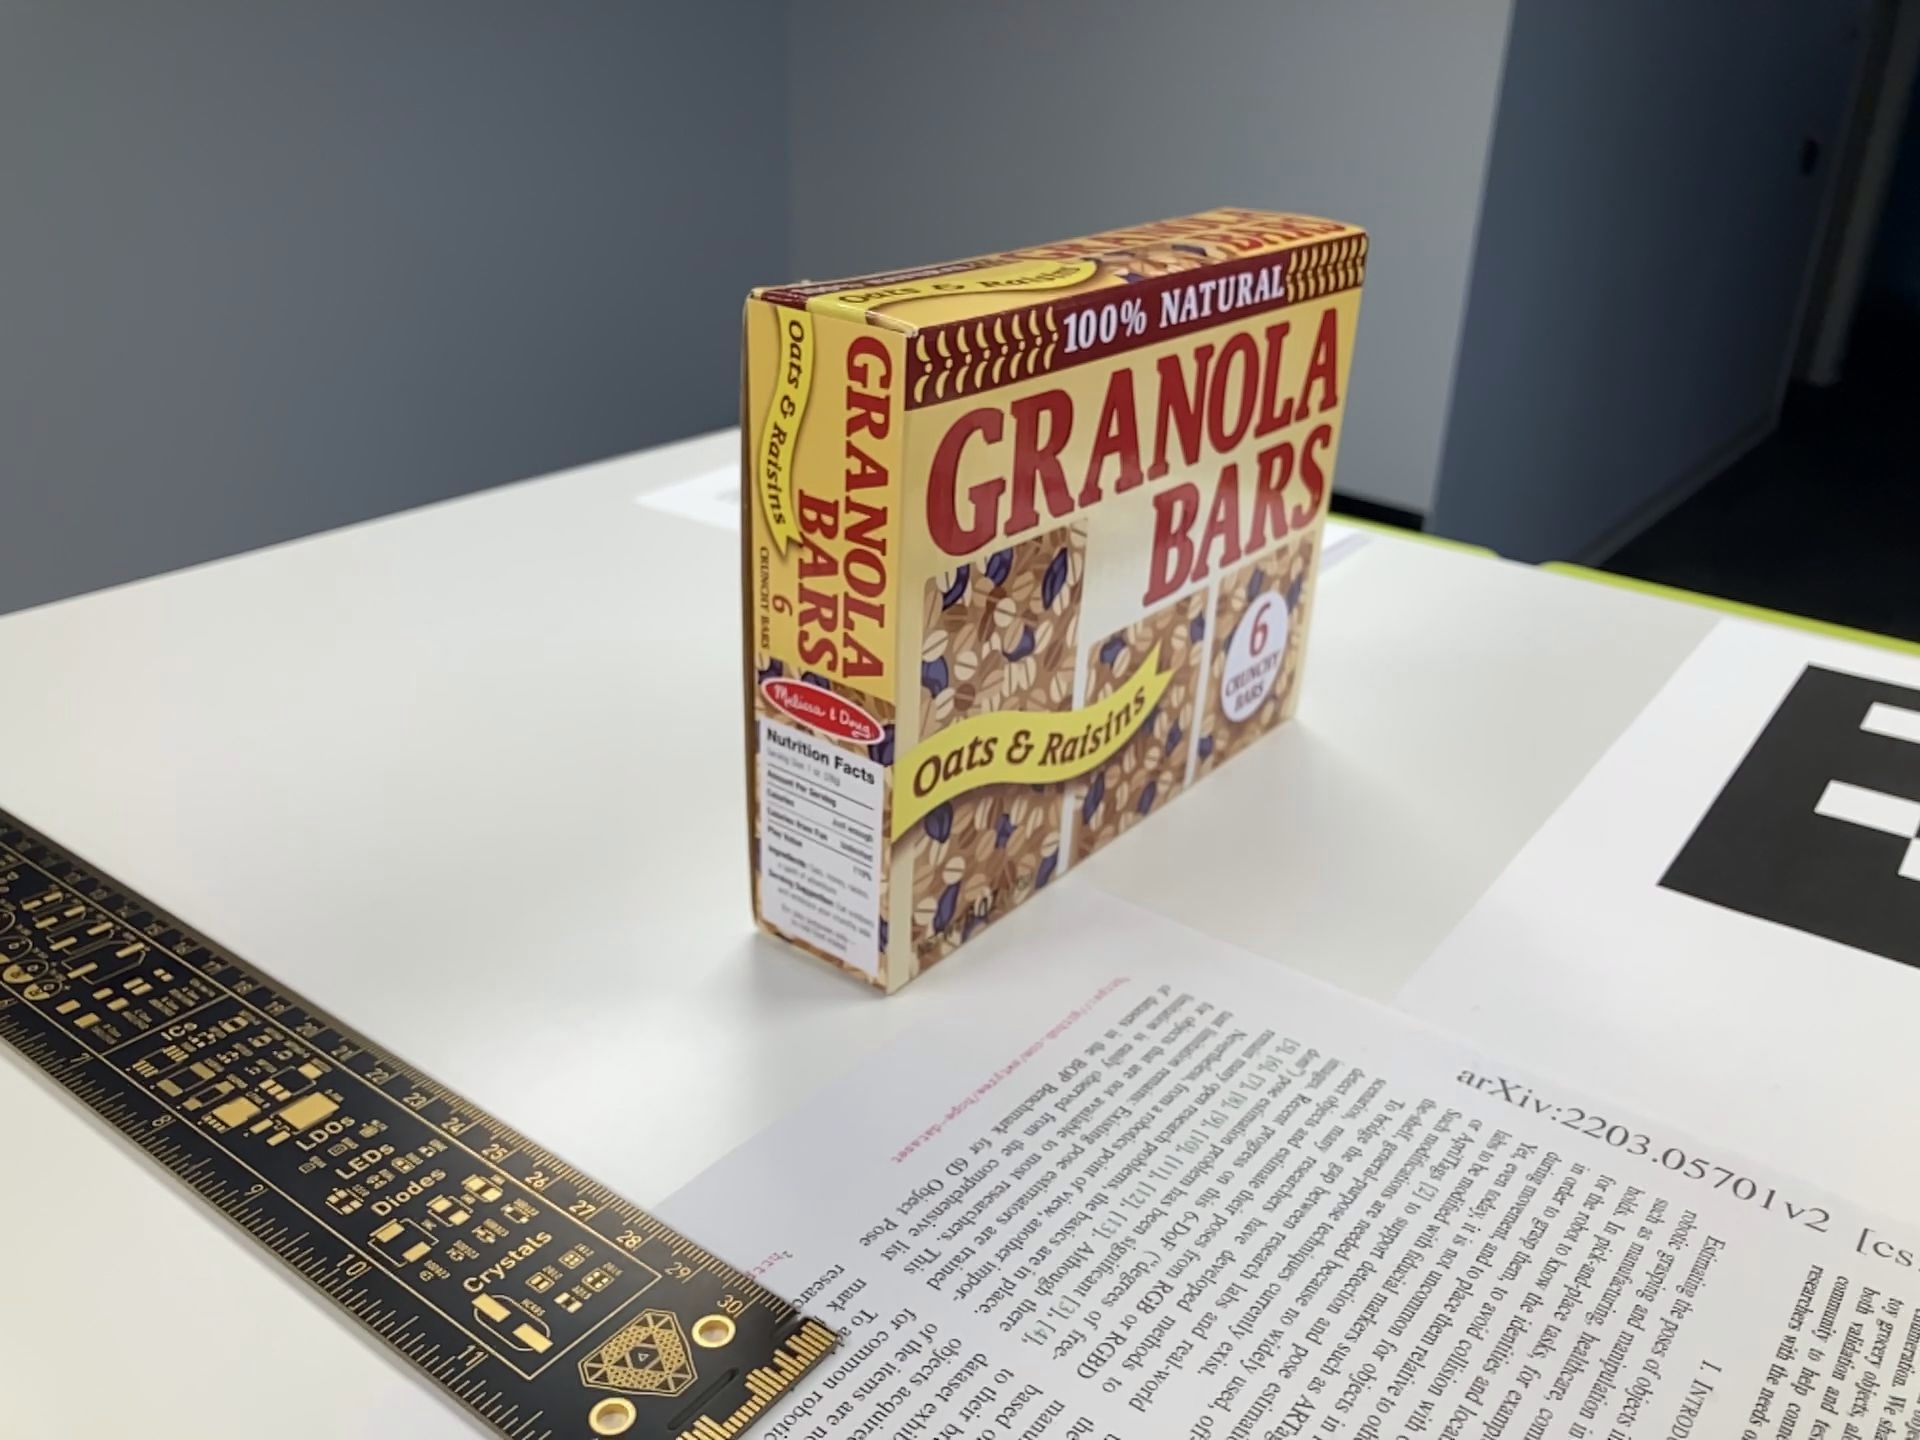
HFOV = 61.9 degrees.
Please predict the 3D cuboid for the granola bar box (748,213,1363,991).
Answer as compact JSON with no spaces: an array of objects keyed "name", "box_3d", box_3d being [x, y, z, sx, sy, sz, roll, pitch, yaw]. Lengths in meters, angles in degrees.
[{"name":"granola bar box","box_3d":[0.025,-0.036,0.341,0.039,0.124,0.165,20,30,32]}]
